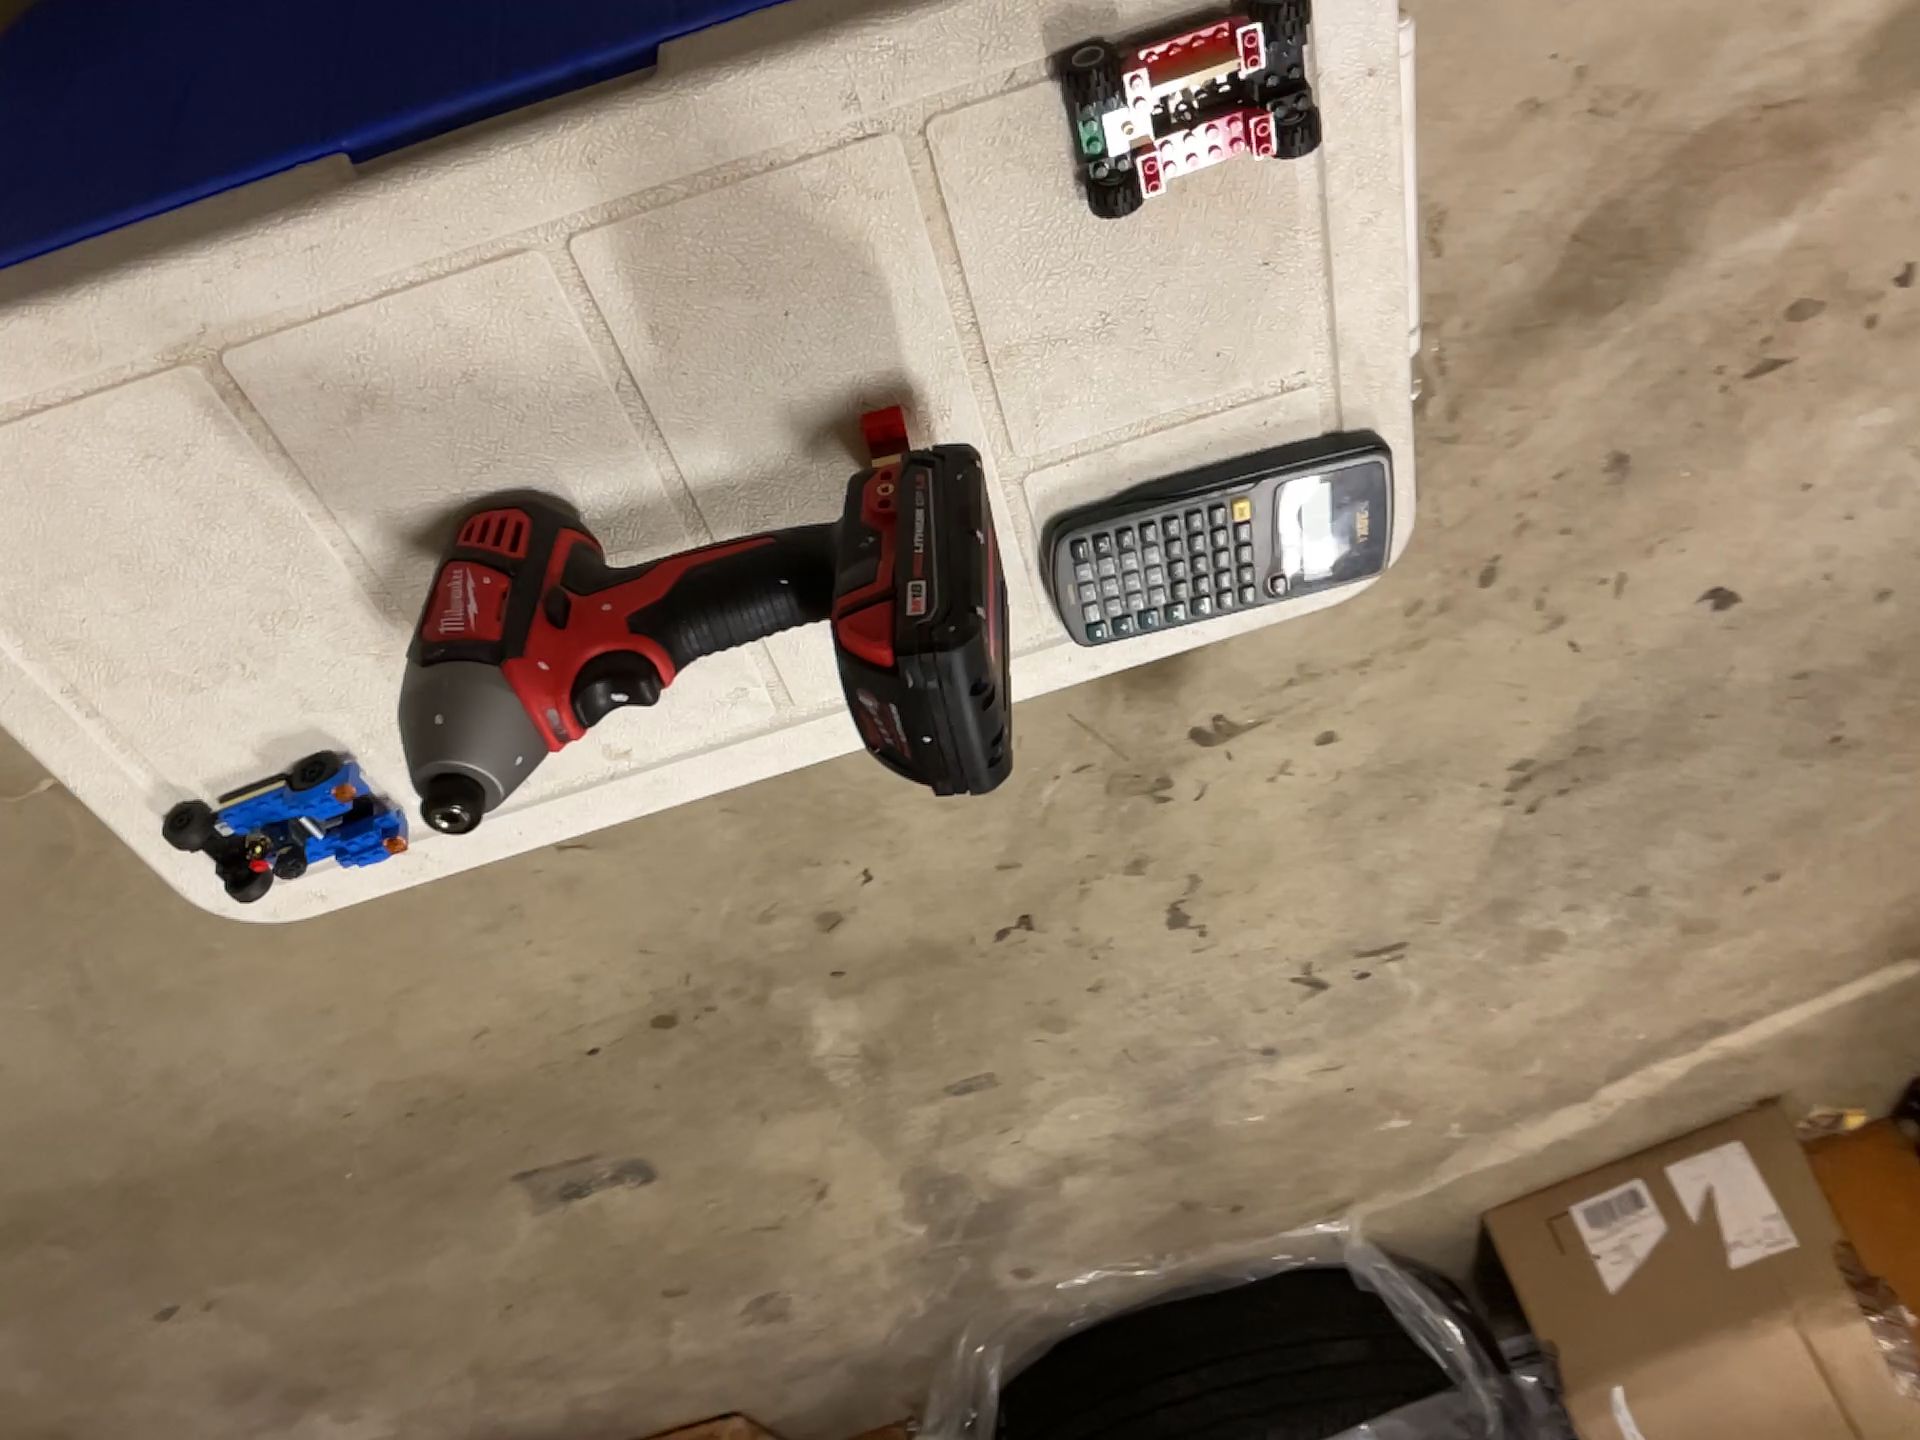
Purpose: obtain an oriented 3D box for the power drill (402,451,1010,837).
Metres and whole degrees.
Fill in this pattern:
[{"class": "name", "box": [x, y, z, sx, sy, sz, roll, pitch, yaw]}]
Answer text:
[{"class": "power drill", "box": [-0.096, -0.025, 0.588, 0.219, 0.143, 0.078, -4, 139, 9]}]
